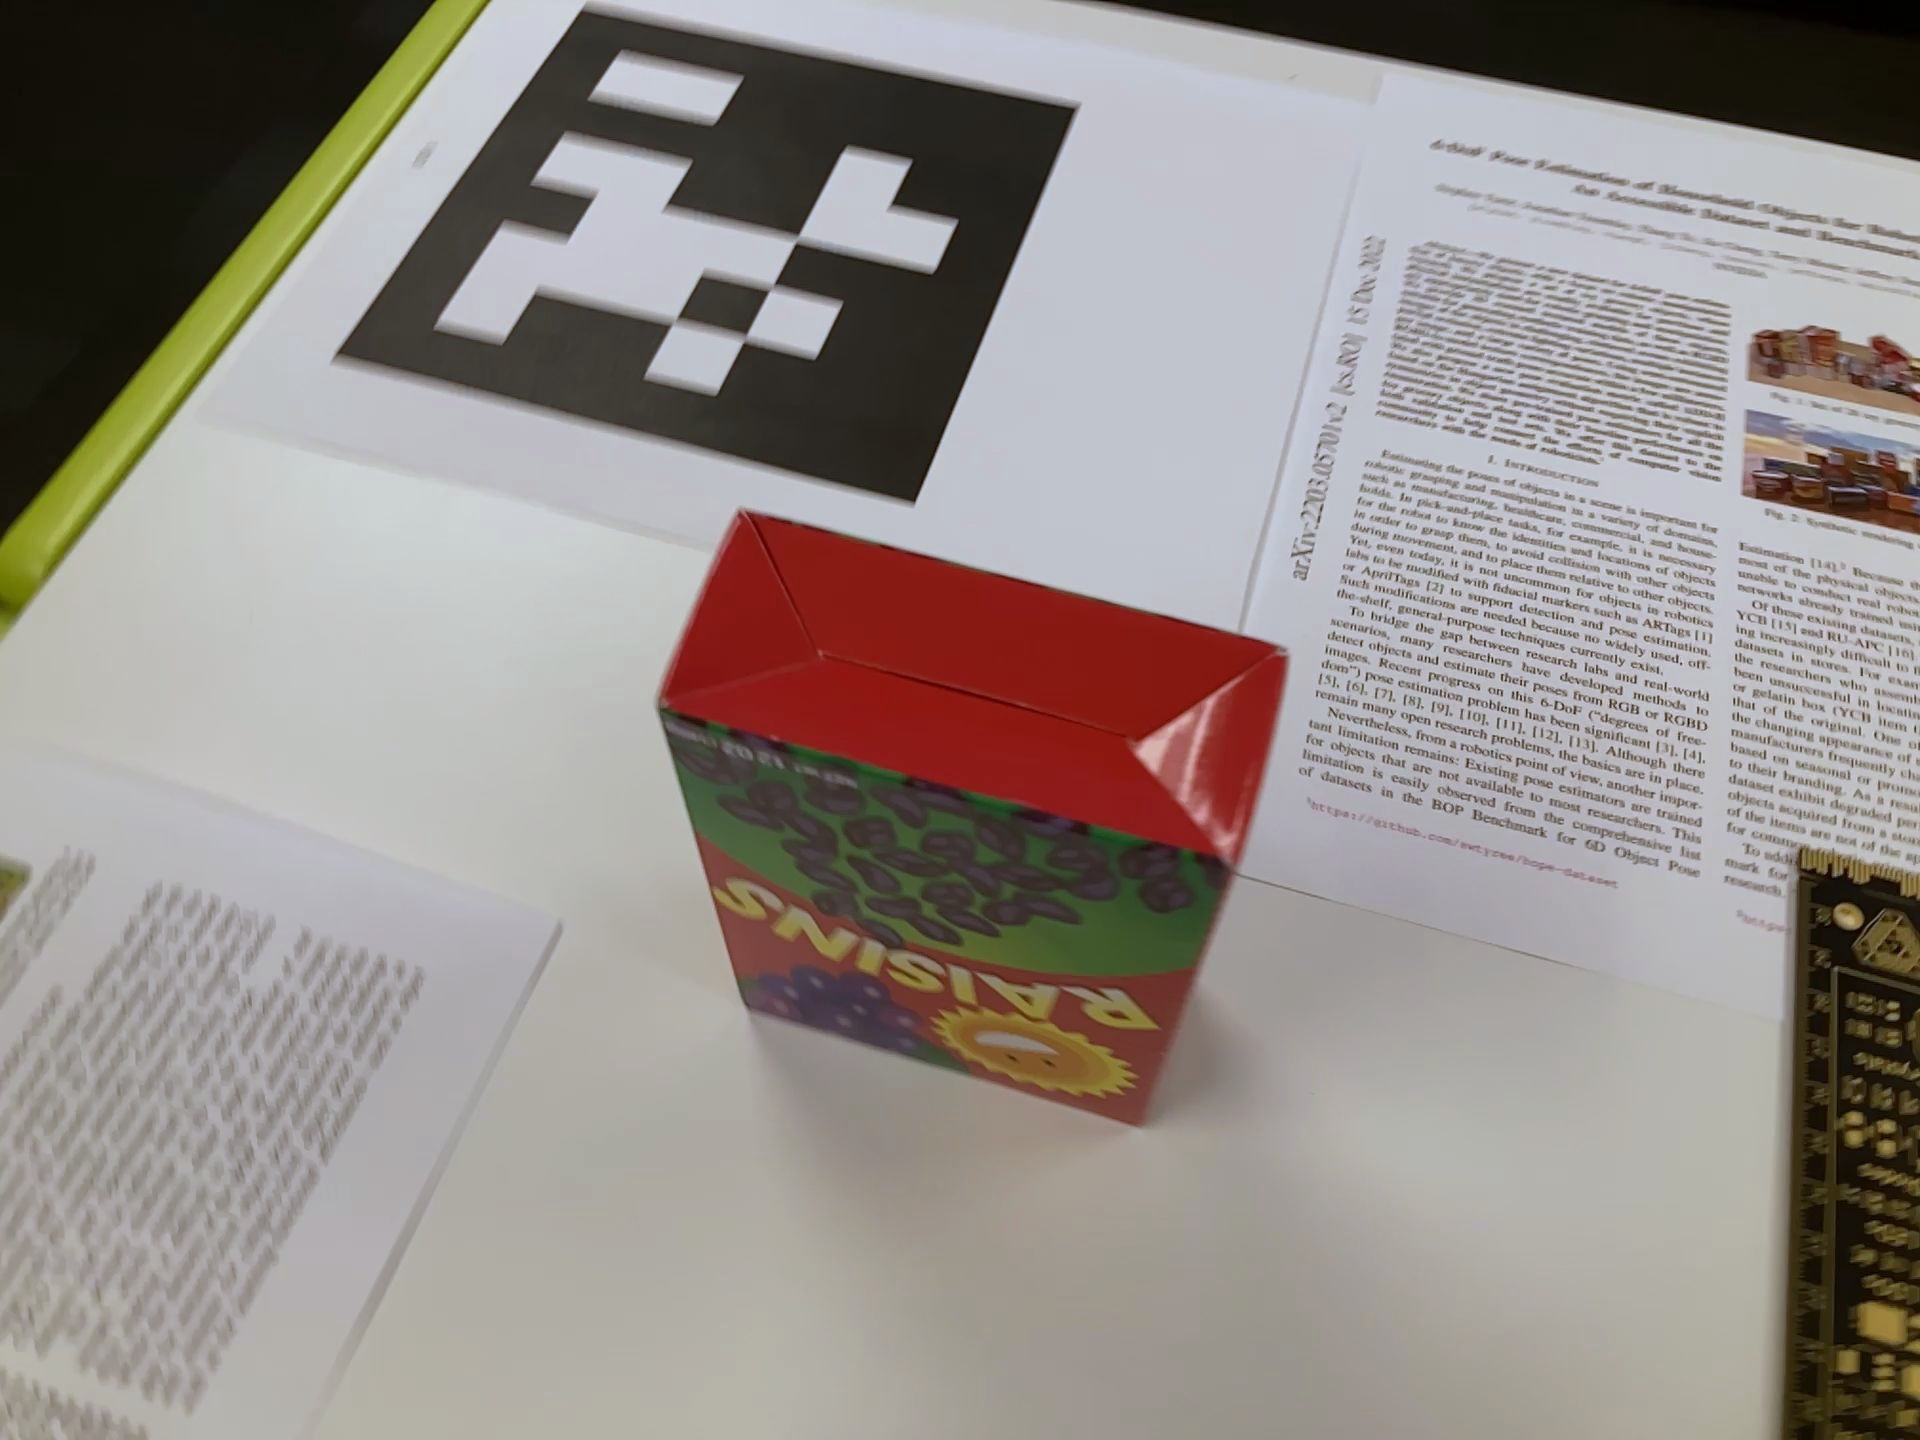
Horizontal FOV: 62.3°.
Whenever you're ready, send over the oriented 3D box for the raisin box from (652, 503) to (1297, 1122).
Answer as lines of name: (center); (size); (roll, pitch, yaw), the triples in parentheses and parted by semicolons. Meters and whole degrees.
raisin box: (0.001, 0.023, 0.273); (0.086, 0.123, 0.040); (14, 60, 8)
